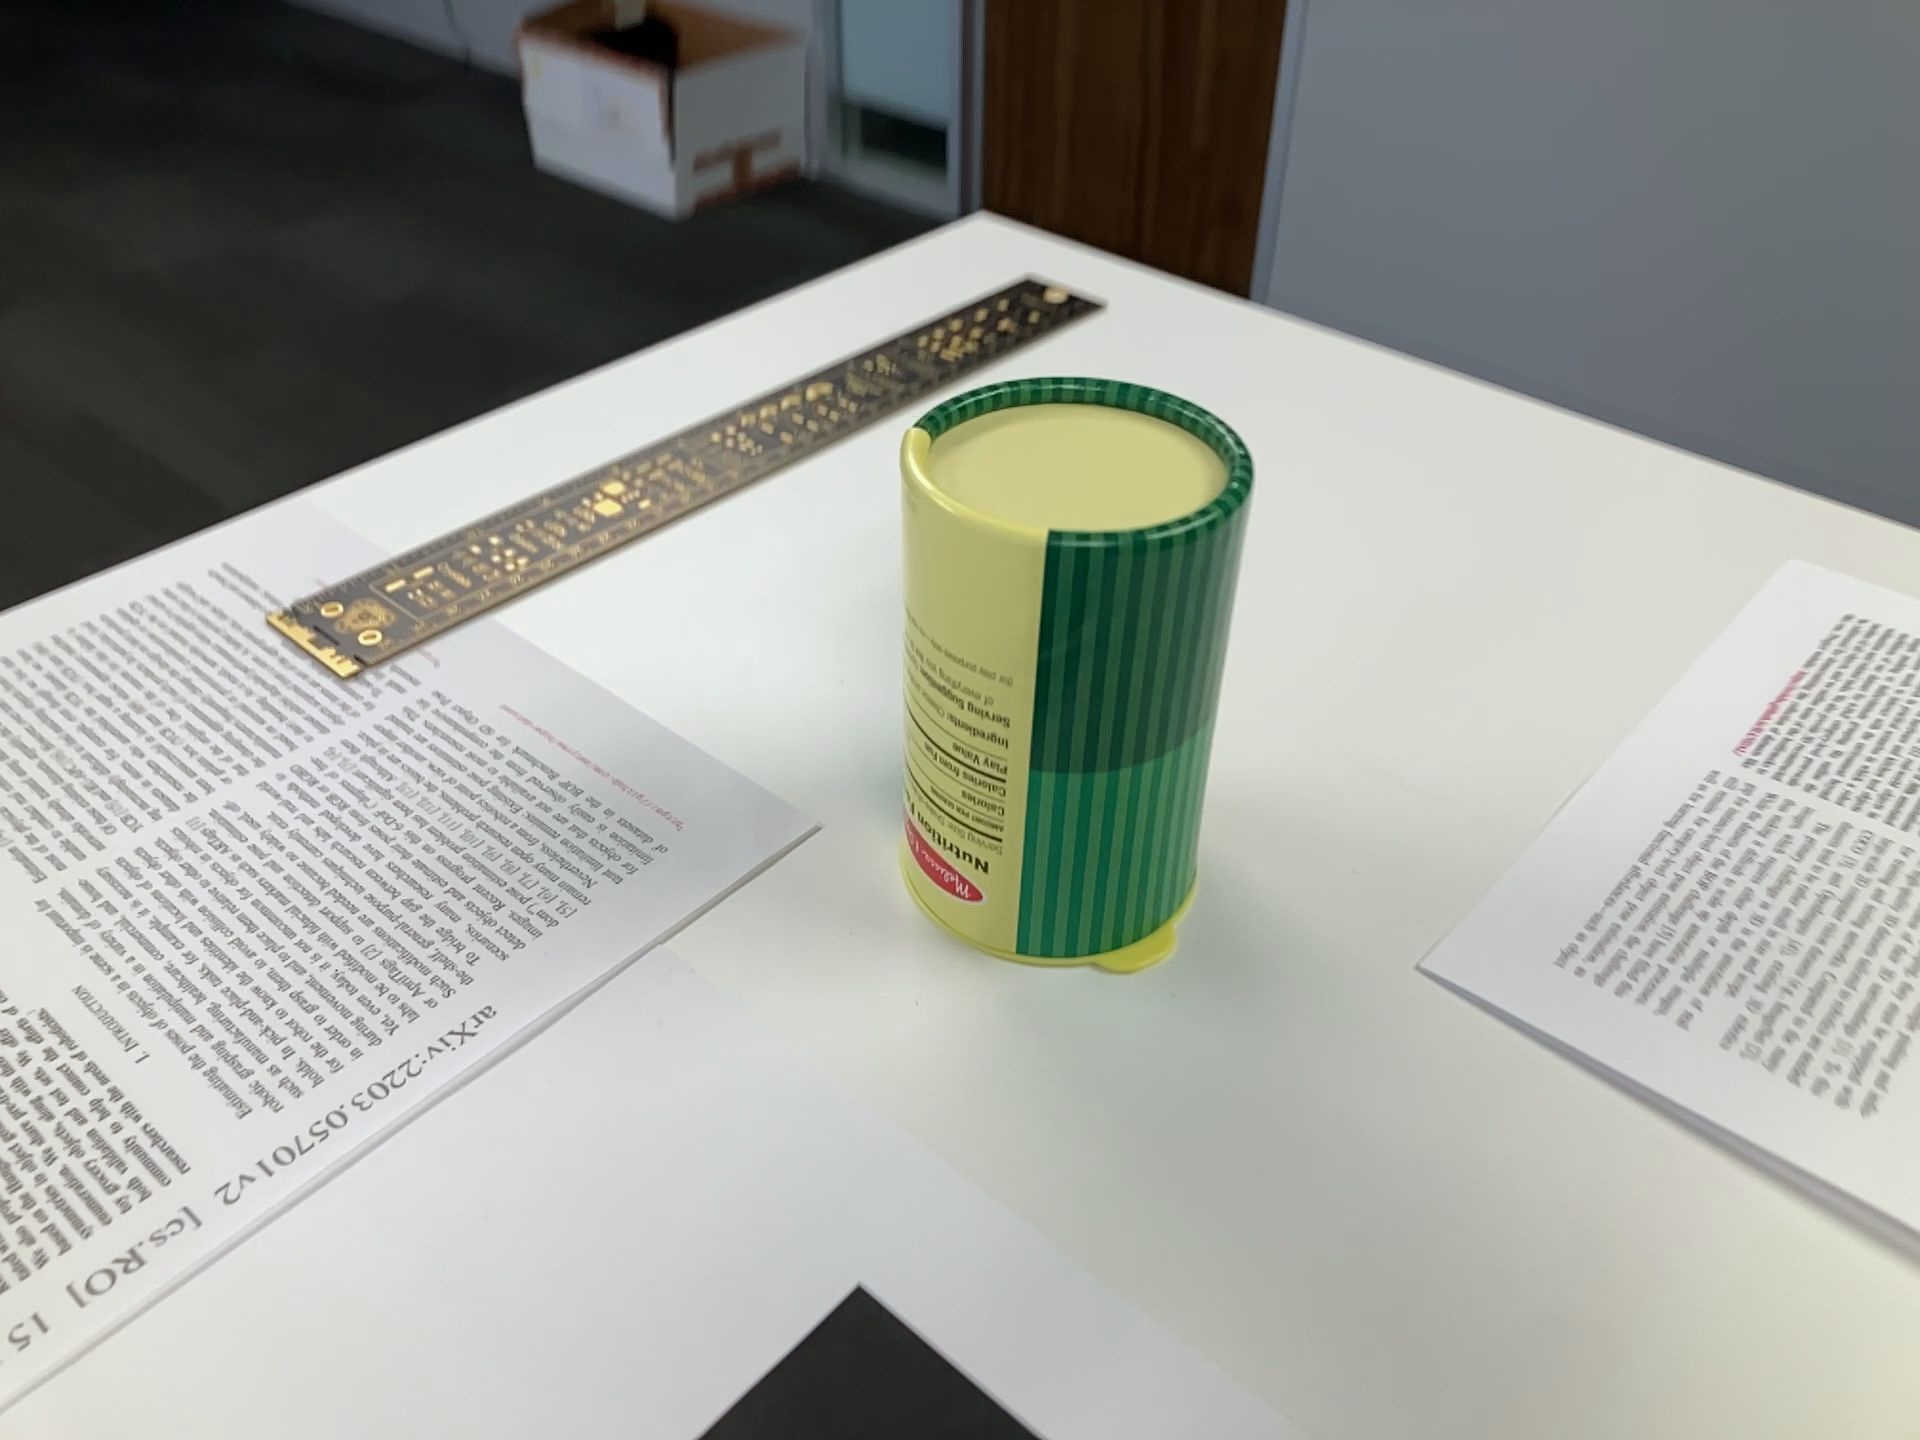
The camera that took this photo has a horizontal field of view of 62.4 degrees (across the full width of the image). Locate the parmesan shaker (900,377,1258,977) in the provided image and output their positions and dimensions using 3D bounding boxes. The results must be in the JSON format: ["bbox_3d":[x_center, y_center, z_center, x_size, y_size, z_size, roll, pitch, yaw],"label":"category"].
[{"bbox_3d":[0.023,-0.008,0.319,0.071,0.103,0.071,1,38,-1],"label":"parmesan shaker"}]
